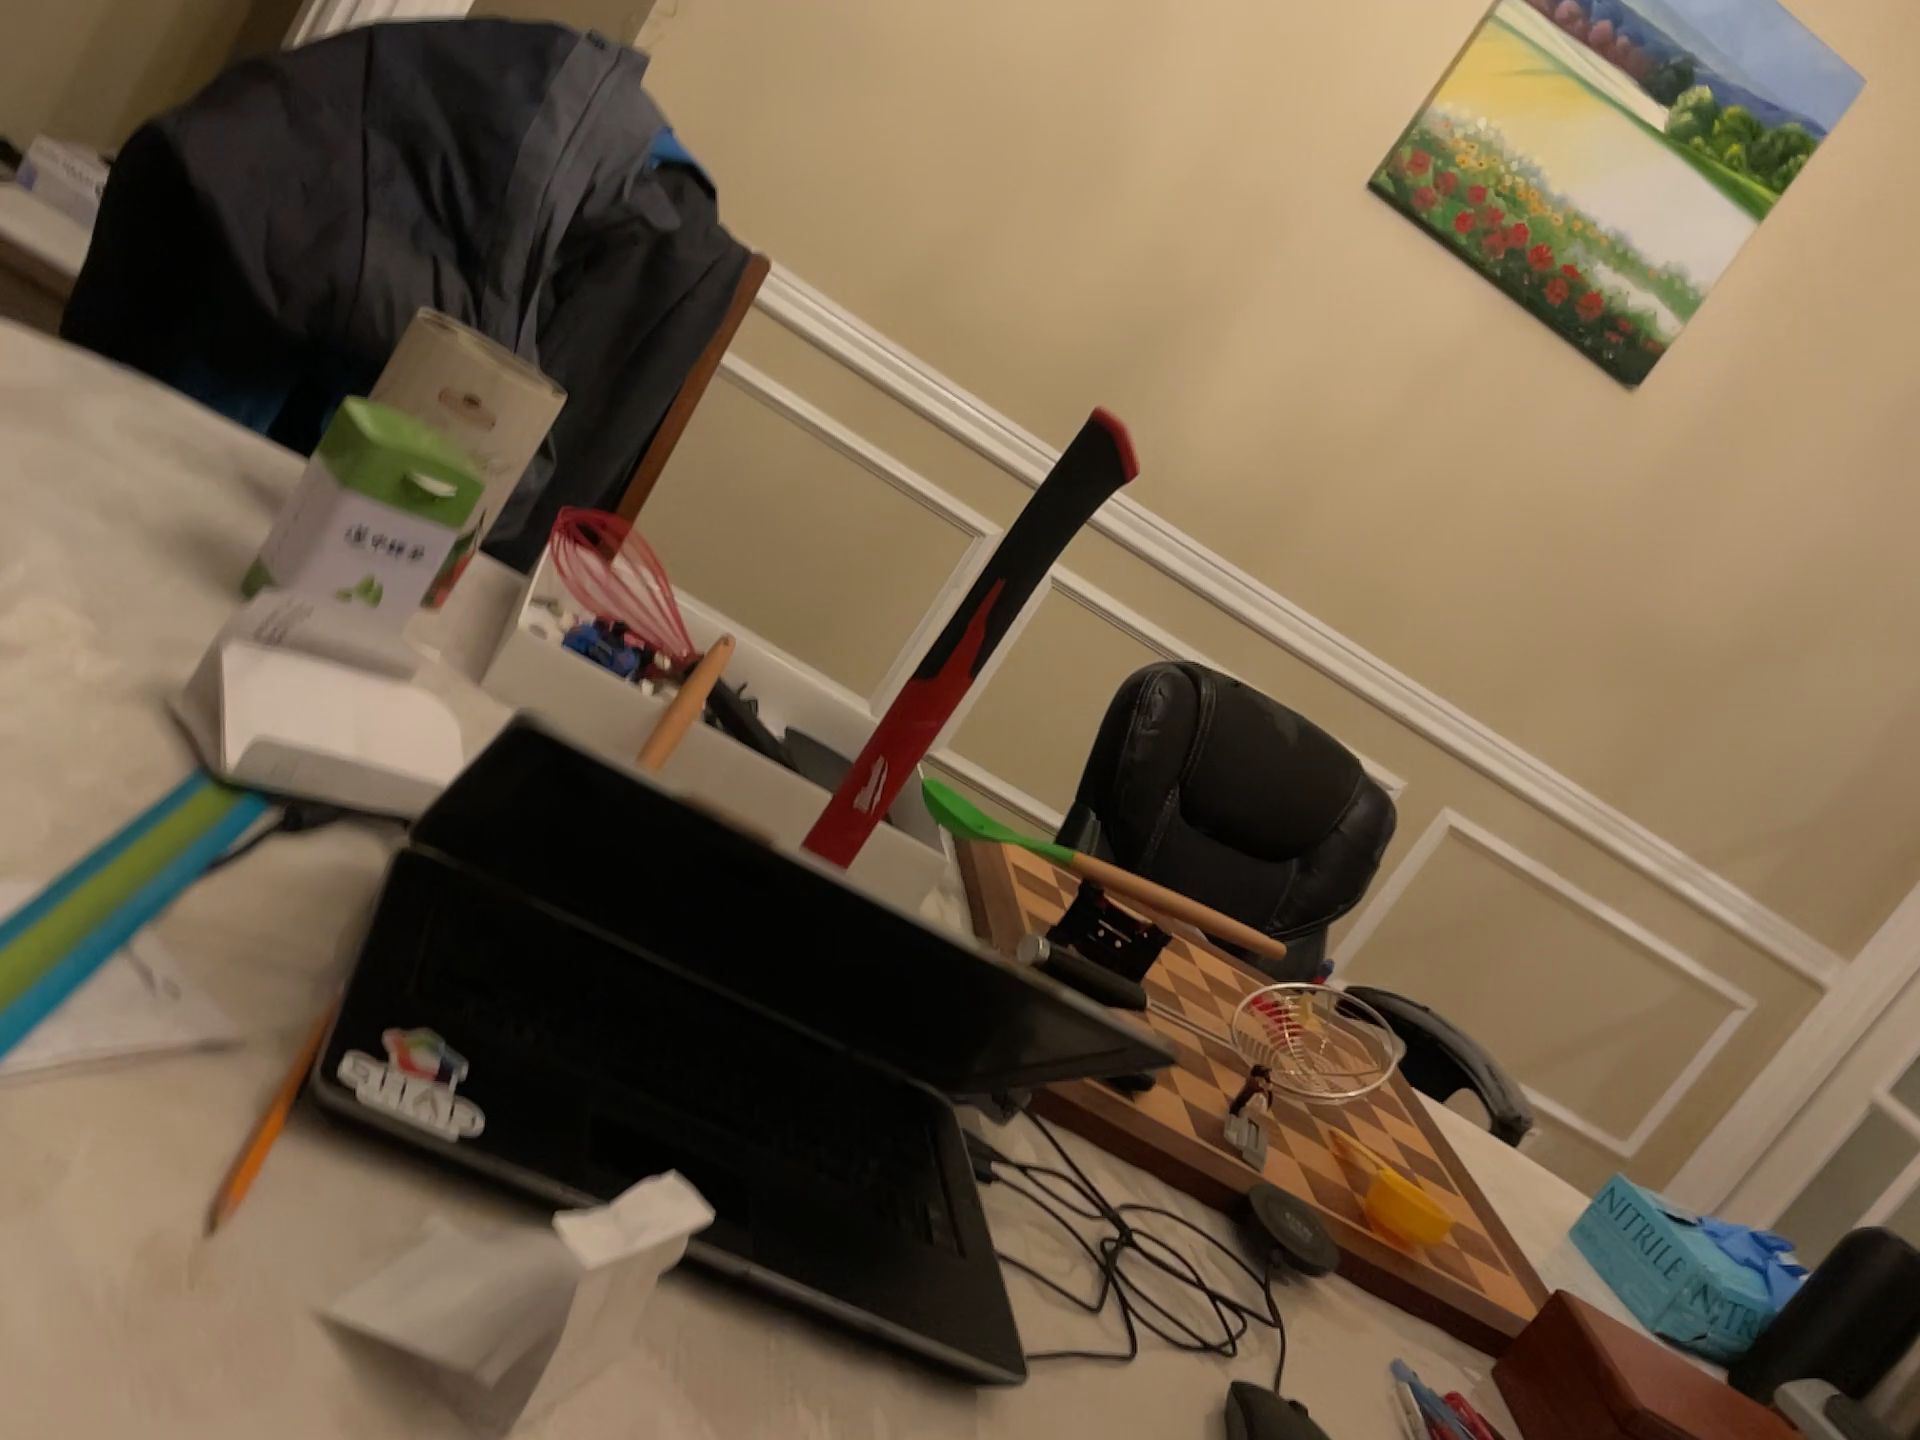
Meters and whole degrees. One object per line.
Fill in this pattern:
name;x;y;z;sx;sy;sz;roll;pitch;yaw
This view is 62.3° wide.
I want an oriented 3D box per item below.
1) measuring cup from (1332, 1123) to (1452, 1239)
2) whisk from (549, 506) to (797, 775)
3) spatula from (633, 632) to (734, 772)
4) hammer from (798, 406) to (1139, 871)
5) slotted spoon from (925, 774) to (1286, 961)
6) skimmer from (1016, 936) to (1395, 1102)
measuring cup;0.307;0.338;1.175;0.062;0.029;0.157;27;1;-14
whisk;-0.227;-0.058;1.270;0.296;0.073;0.073;50;33;8
spatula;-0.195;0.017;1.038;0.082;0.044;0.317;30;33;-8
hammer;-0.024;-0.033;0.993;0.143;0.386;0.038;31;13;-11
slotted spoon;0.111;0.121;1.246;0.314;0.031;0.070;24;11;-1
skimmer;0.188;0.204;1.184;0.362;0.090;0.127;30;14;-37
